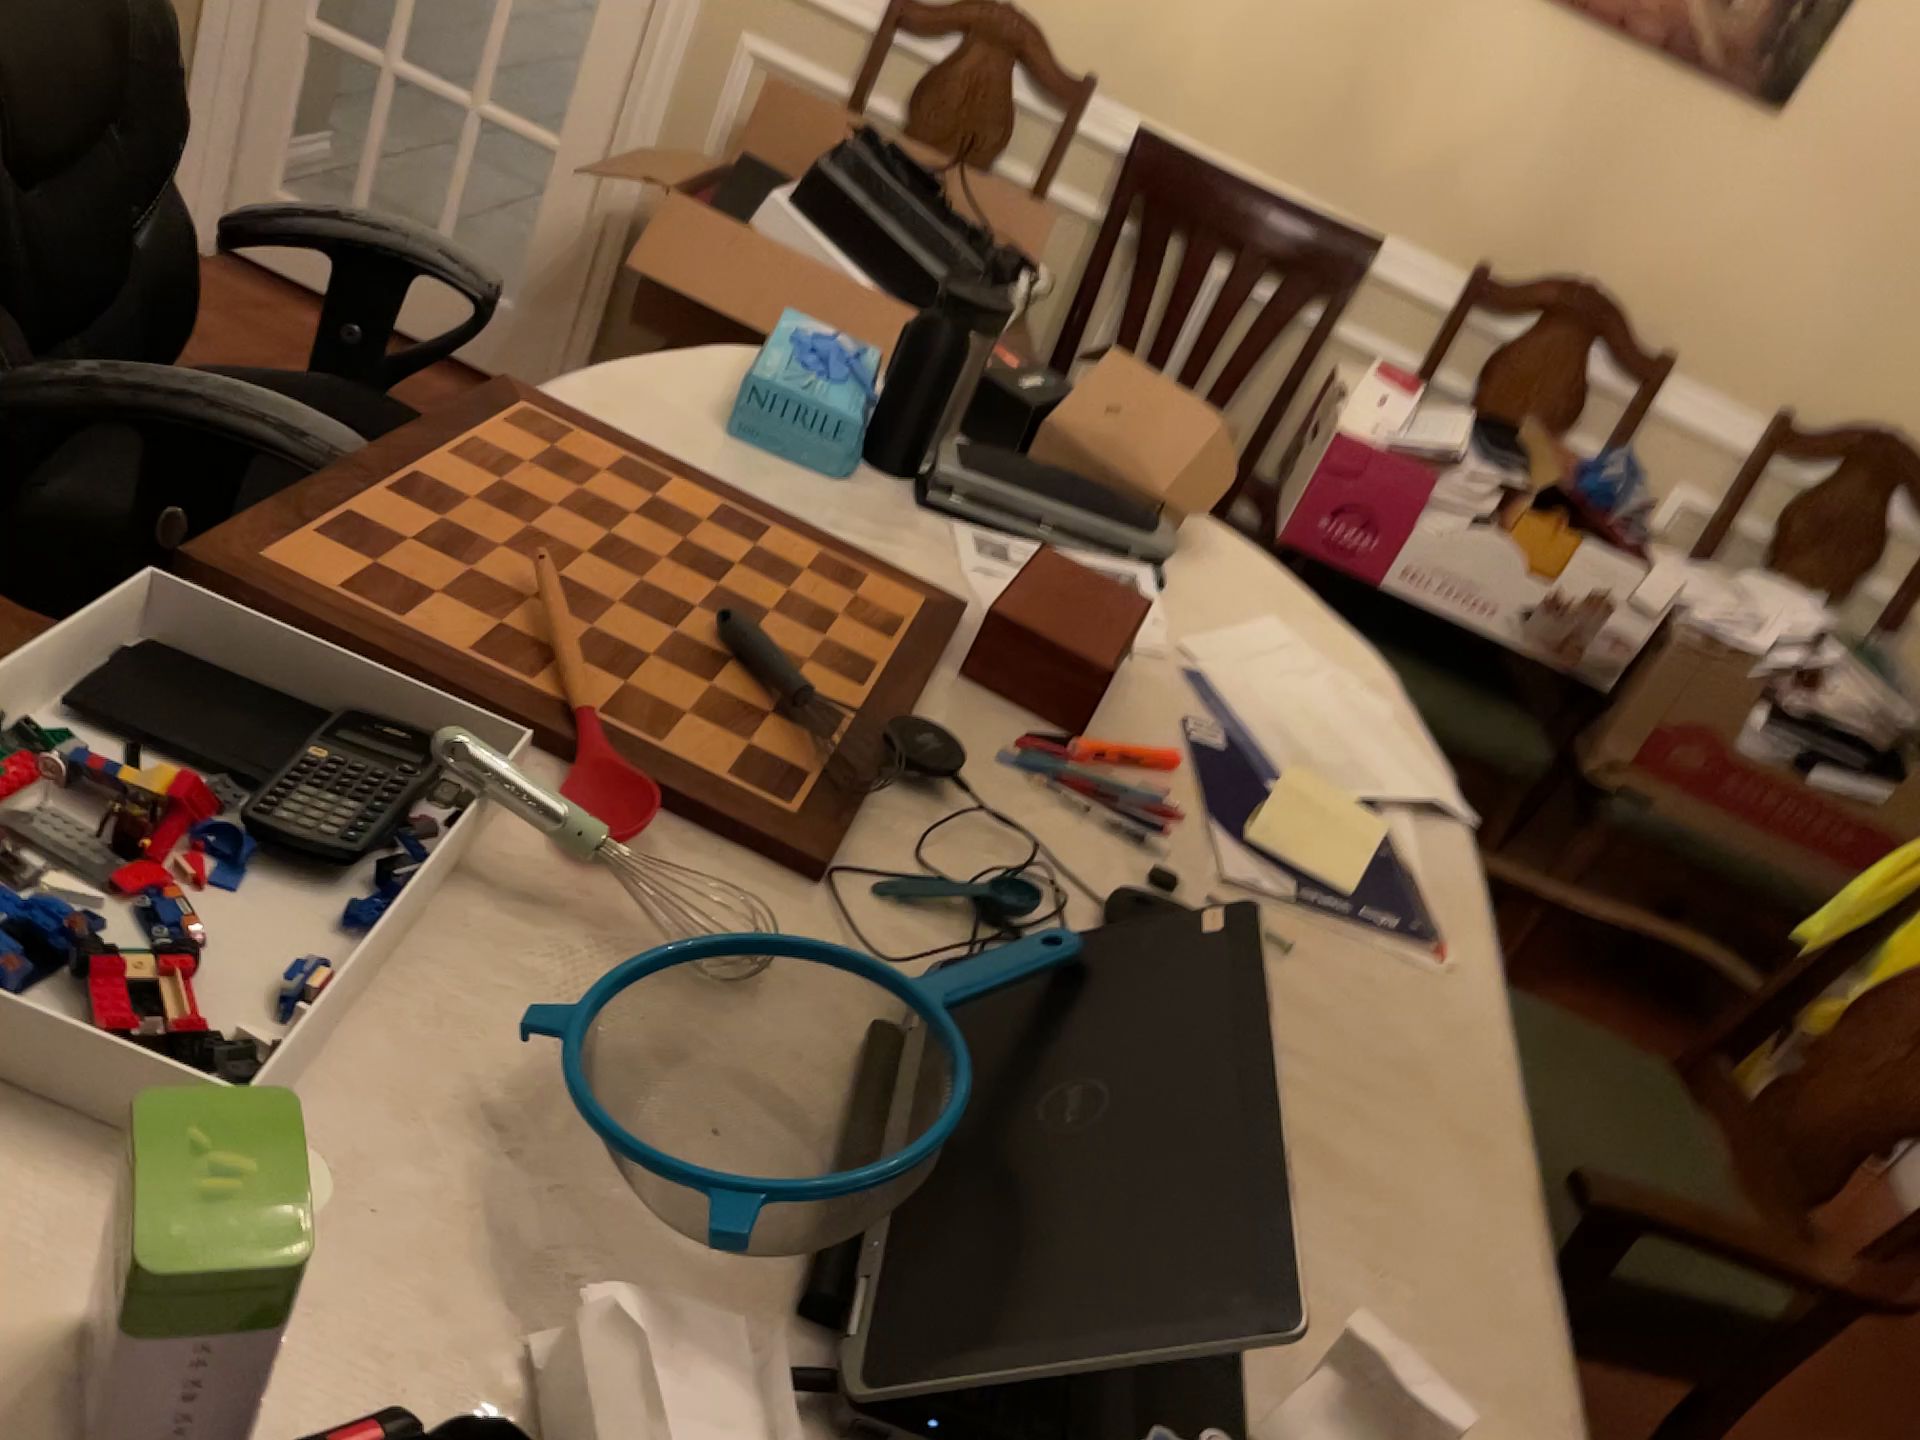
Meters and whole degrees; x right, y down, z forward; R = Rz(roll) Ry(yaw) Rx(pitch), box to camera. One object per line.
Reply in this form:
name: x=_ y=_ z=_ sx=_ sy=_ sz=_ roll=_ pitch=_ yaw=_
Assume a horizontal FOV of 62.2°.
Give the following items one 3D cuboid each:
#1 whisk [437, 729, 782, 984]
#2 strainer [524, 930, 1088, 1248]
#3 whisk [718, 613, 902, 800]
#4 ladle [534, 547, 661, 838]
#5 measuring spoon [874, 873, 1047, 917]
whisk: x=-0.211 y=0.082 z=0.966 sx=0.246 sy=0.058 sz=0.059 roll=36 pitch=-3 yaw=-10
strainer: x=-0.056 y=0.196 z=0.883 sx=0.340 sy=0.095 sz=0.211 roll=-12 pitch=33 yaw=-42
whisk: x=-0.119 y=-0.016 z=1.225 sx=0.055 sy=0.055 sz=0.239 roll=13 pitch=24 yaw=-51
ladle: x=-0.272 y=-0.025 z=1.126 sx=0.069 sy=0.031 sz=0.316 roll=-11 pitch=46 yaw=-17
measuring spoon: x=0.000 y=0.129 z=1.138 sx=0.128 sy=0.021 sz=0.042 roll=2 pitch=27 yaw=-17
